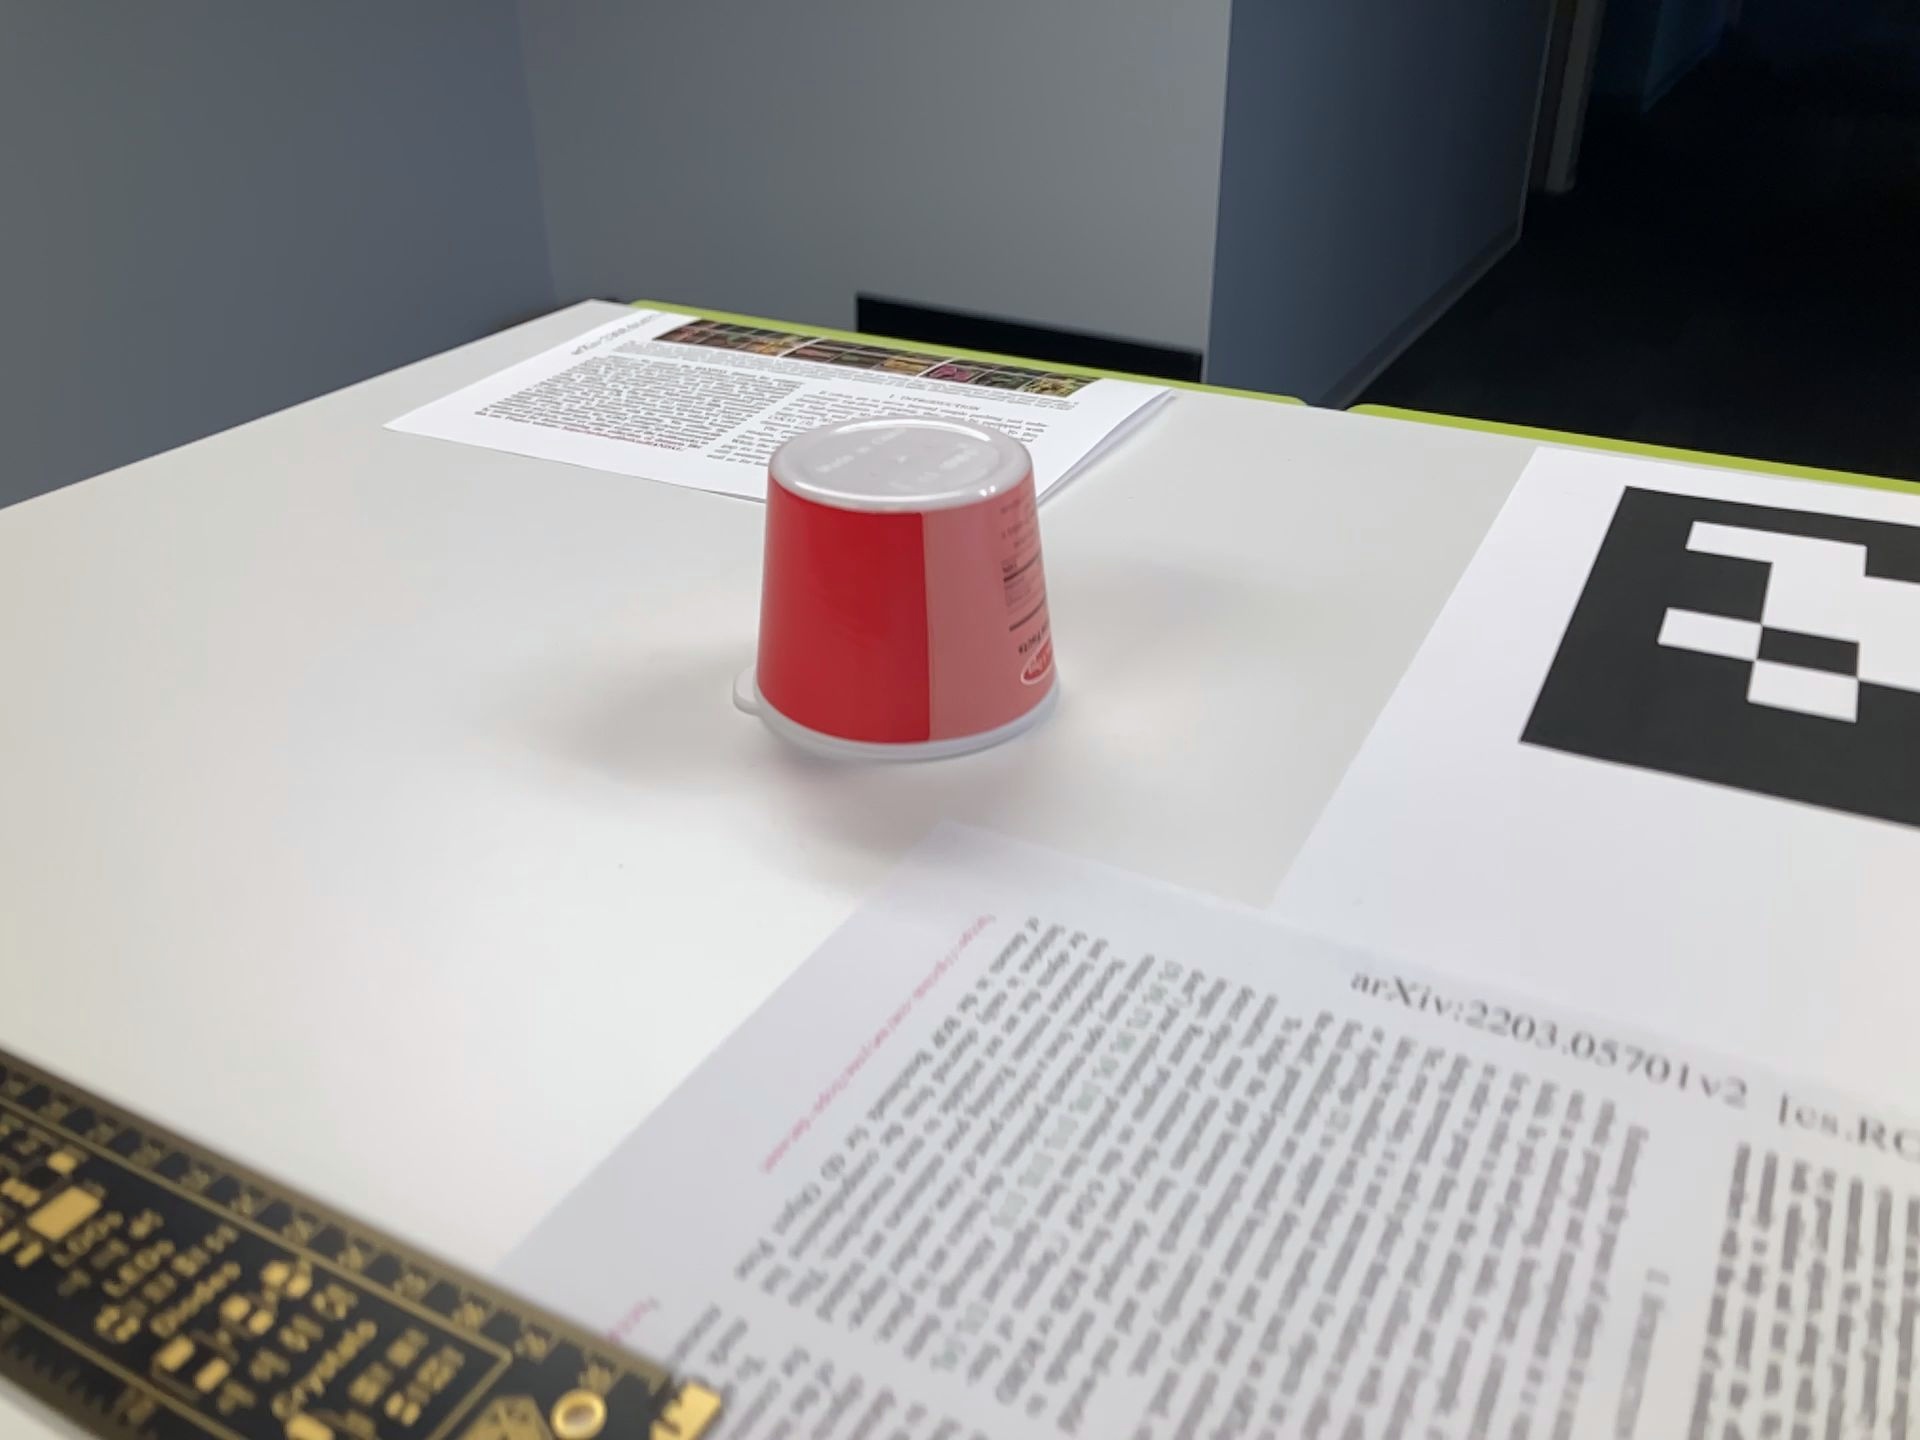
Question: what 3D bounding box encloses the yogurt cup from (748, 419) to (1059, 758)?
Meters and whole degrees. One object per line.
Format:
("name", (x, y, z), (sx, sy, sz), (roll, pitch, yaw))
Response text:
("yogurt cup", (-0.012, -0.031, 0.337), (0.072, 0.054, 0.072), (0, 28, 0))
